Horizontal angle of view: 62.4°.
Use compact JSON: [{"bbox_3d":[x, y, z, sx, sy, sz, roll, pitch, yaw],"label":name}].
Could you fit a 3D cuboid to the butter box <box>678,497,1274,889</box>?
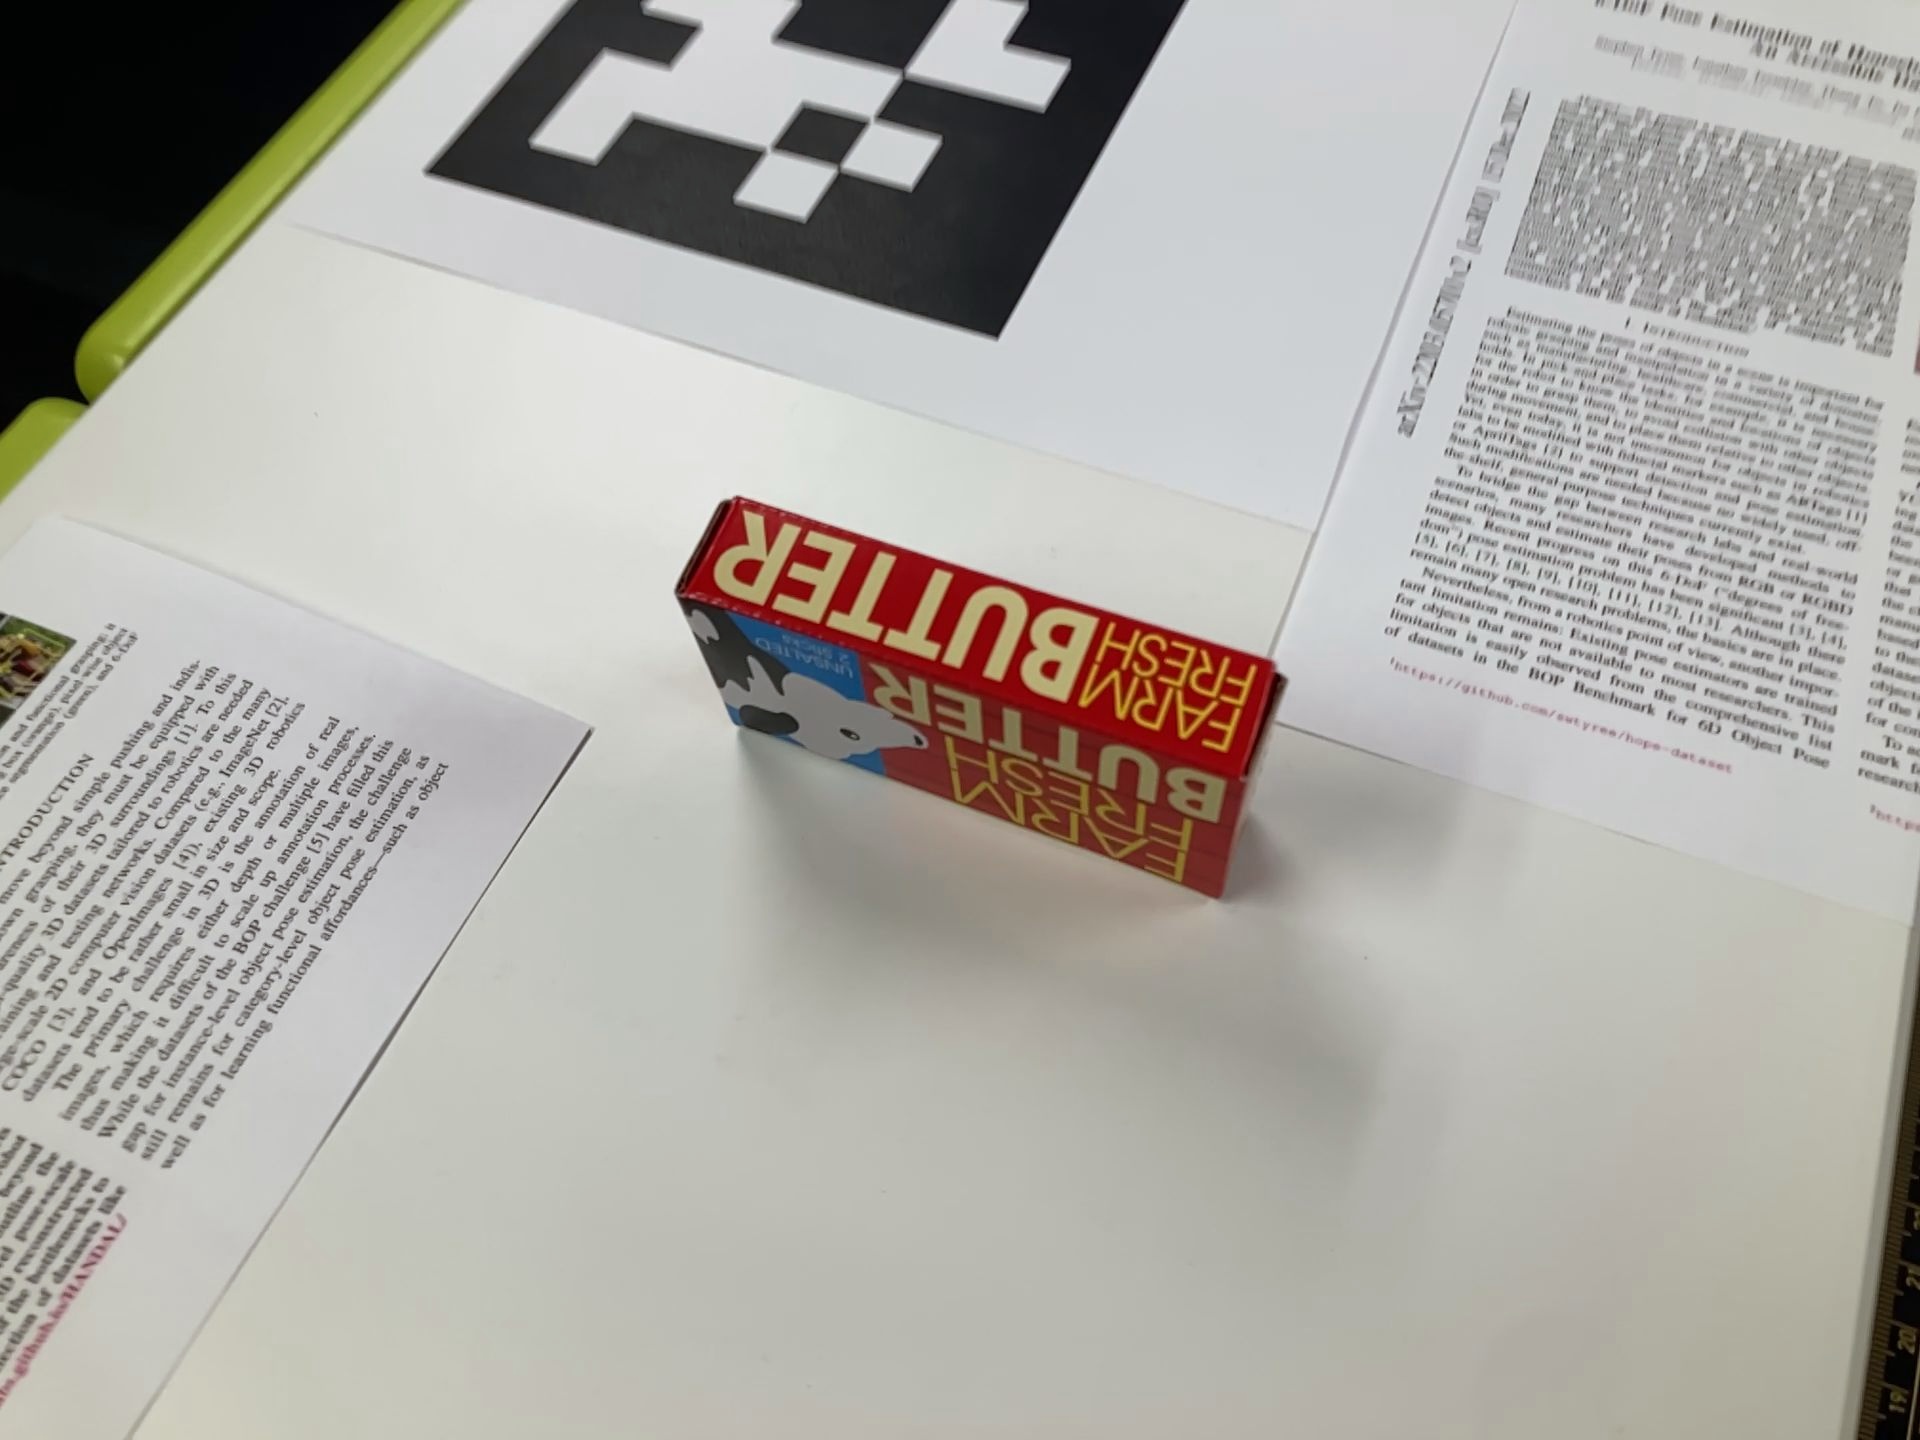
[{"bbox_3d":[0.003,-0.004,0.292,0.103,0.053,0.024,19,66,13],"label":"butter box"}]
